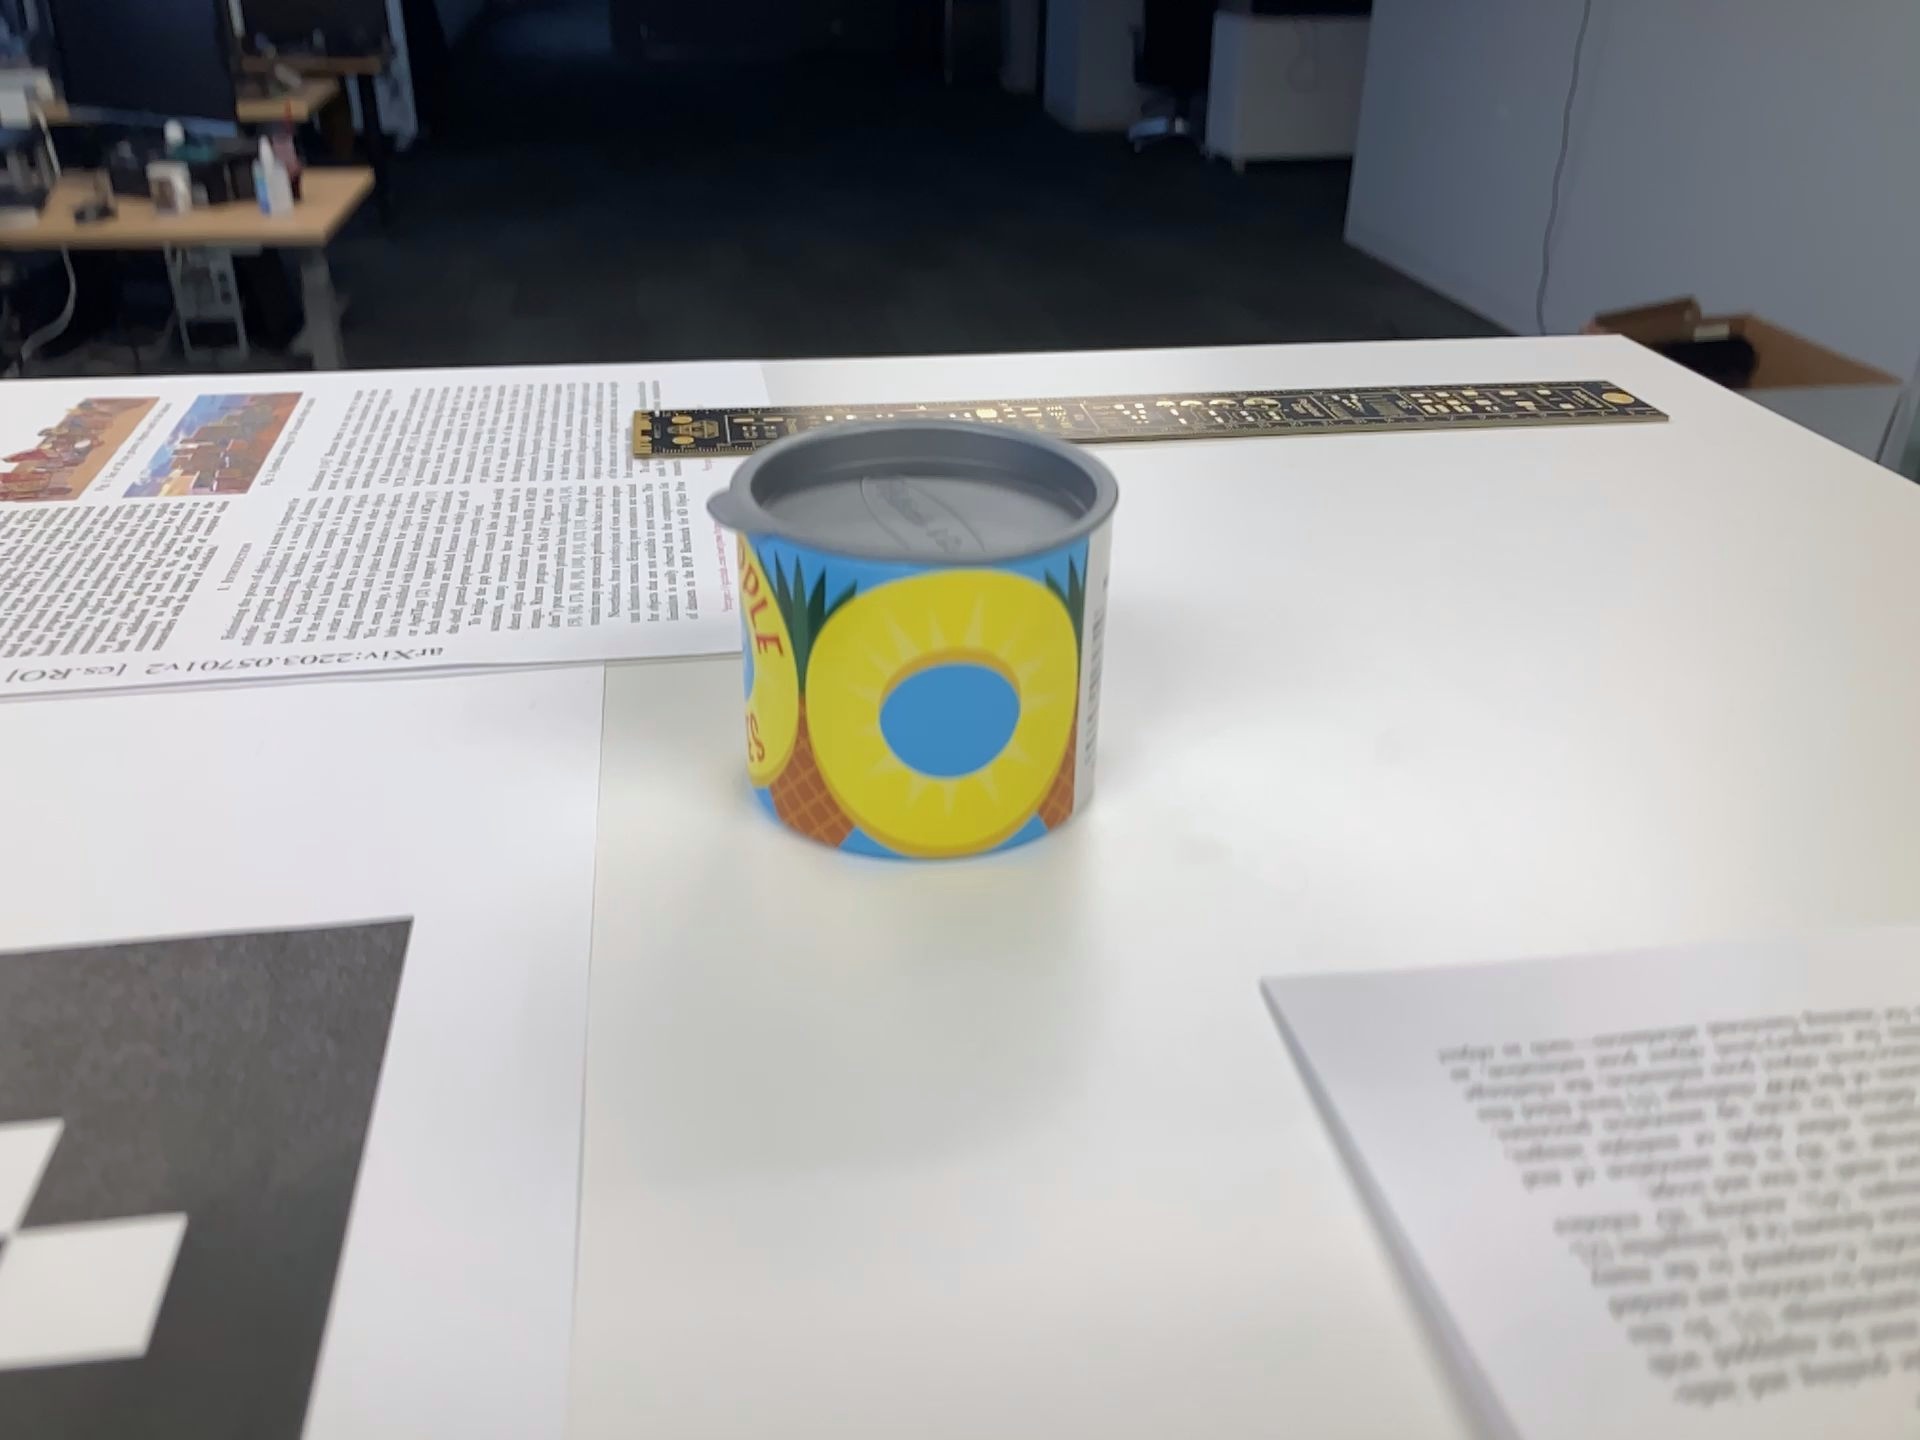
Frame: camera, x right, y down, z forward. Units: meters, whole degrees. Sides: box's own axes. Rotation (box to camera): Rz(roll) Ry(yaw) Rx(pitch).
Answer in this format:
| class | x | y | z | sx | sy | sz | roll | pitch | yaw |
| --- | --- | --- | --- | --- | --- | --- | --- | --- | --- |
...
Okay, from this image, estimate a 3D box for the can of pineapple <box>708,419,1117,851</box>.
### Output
| class | x | y | z | sx | sy | sz | roll | pitch | yaw |
| --- | --- | --- | --- | --- | --- | --- | --- | --- | --- |
| can of pineapple | -0.009 | -0.017 | 0.286 | 0.071 | 0.058 | 0.071 | 1 | 28 | 0 |
